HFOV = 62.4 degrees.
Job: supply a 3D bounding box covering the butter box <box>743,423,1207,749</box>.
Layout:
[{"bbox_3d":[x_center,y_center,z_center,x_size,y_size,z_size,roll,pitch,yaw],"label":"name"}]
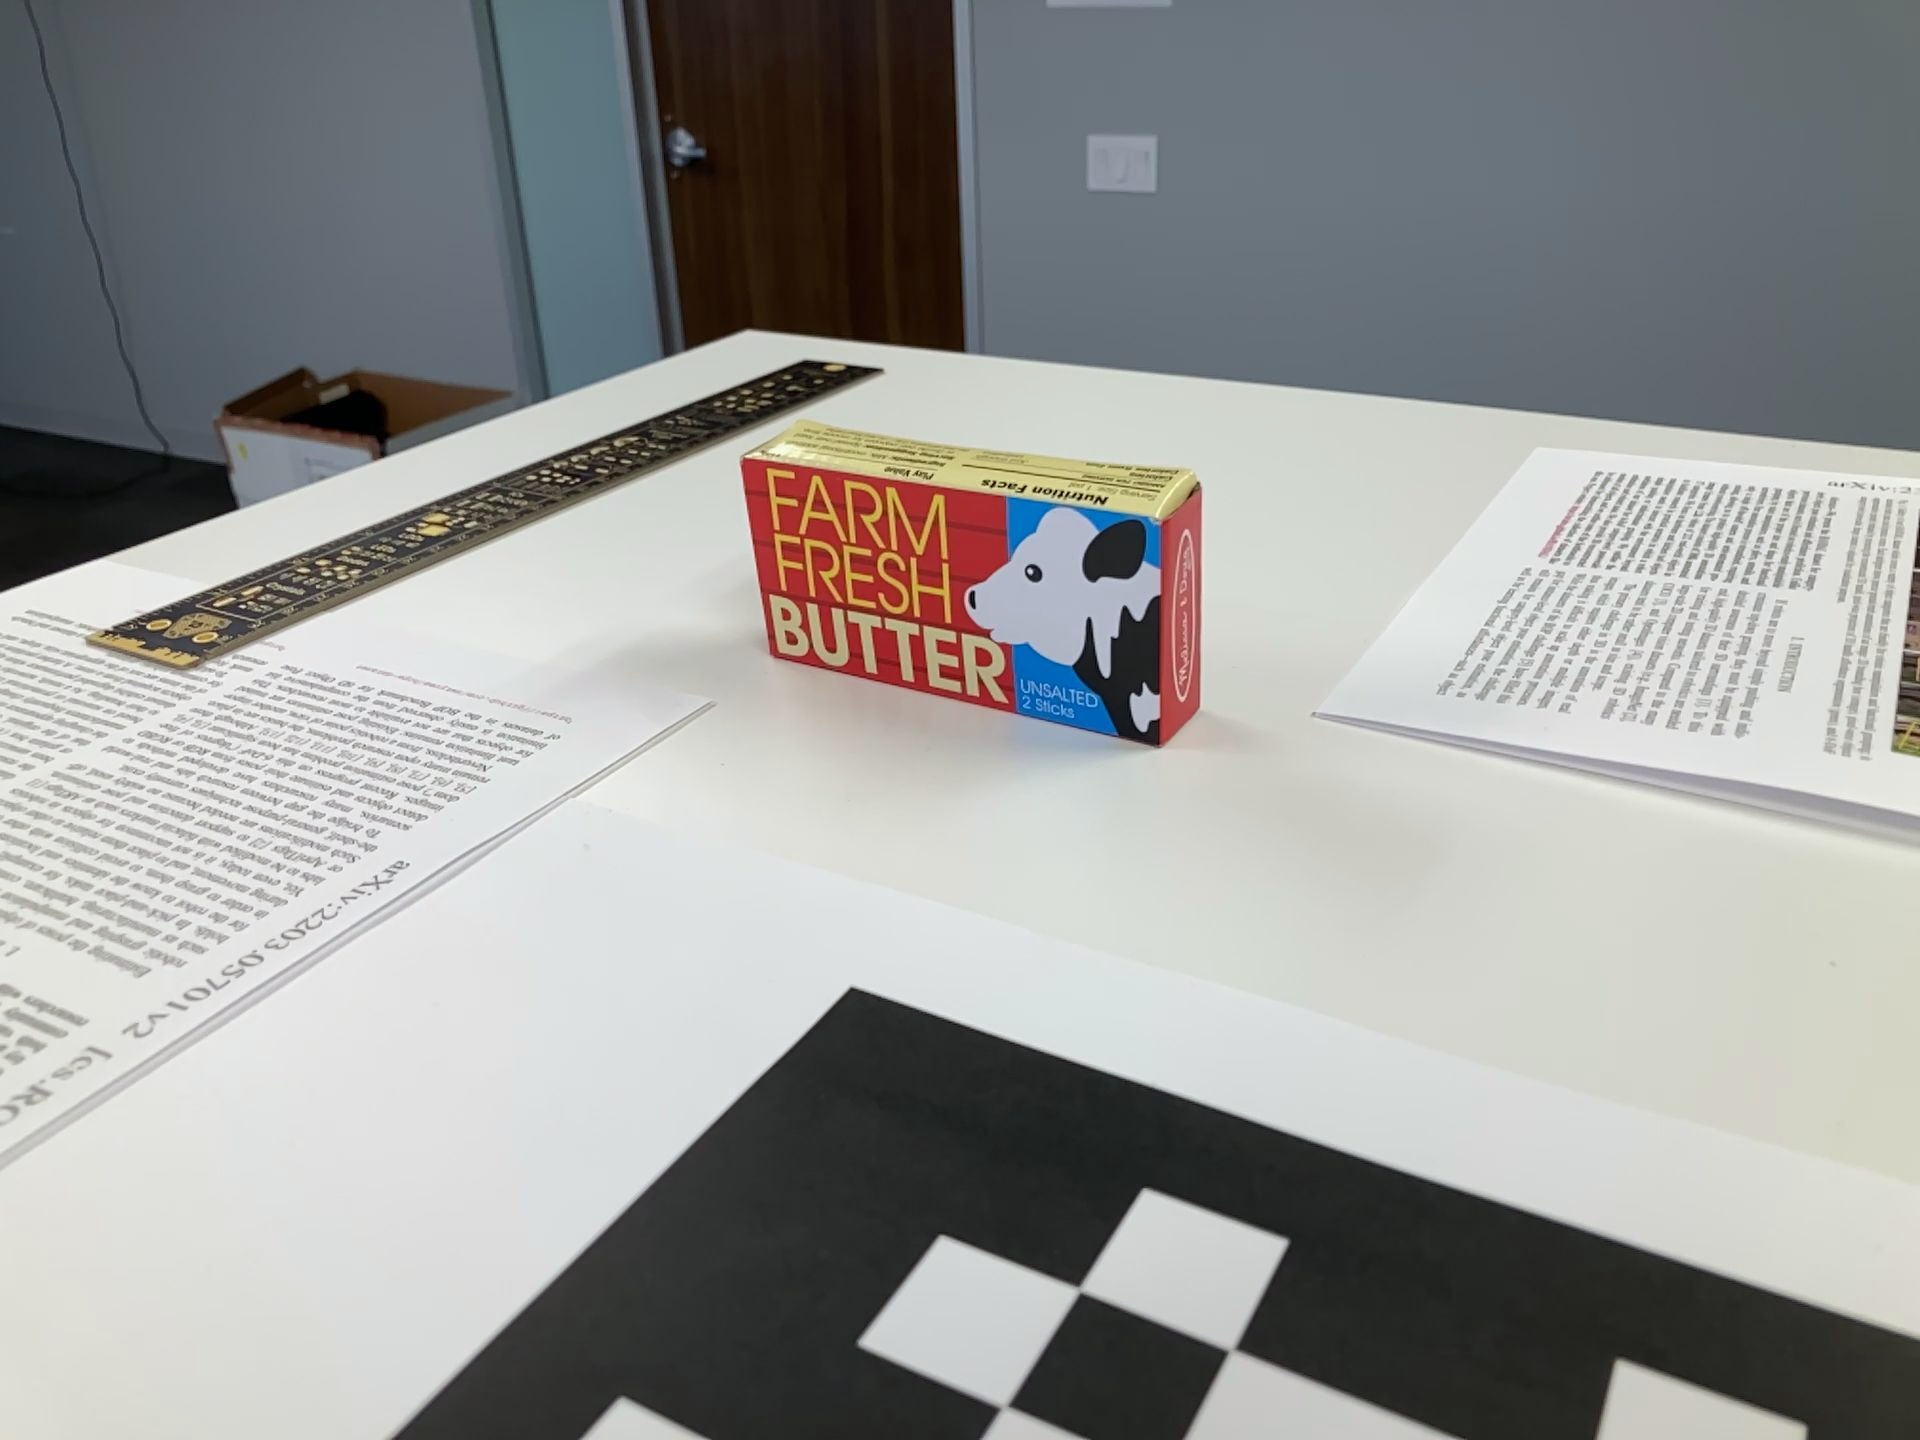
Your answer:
[{"bbox_3d":[0.002,-0.031,0.346,0.103,0.053,0.024,13,33,27],"label":"butter box"}]
